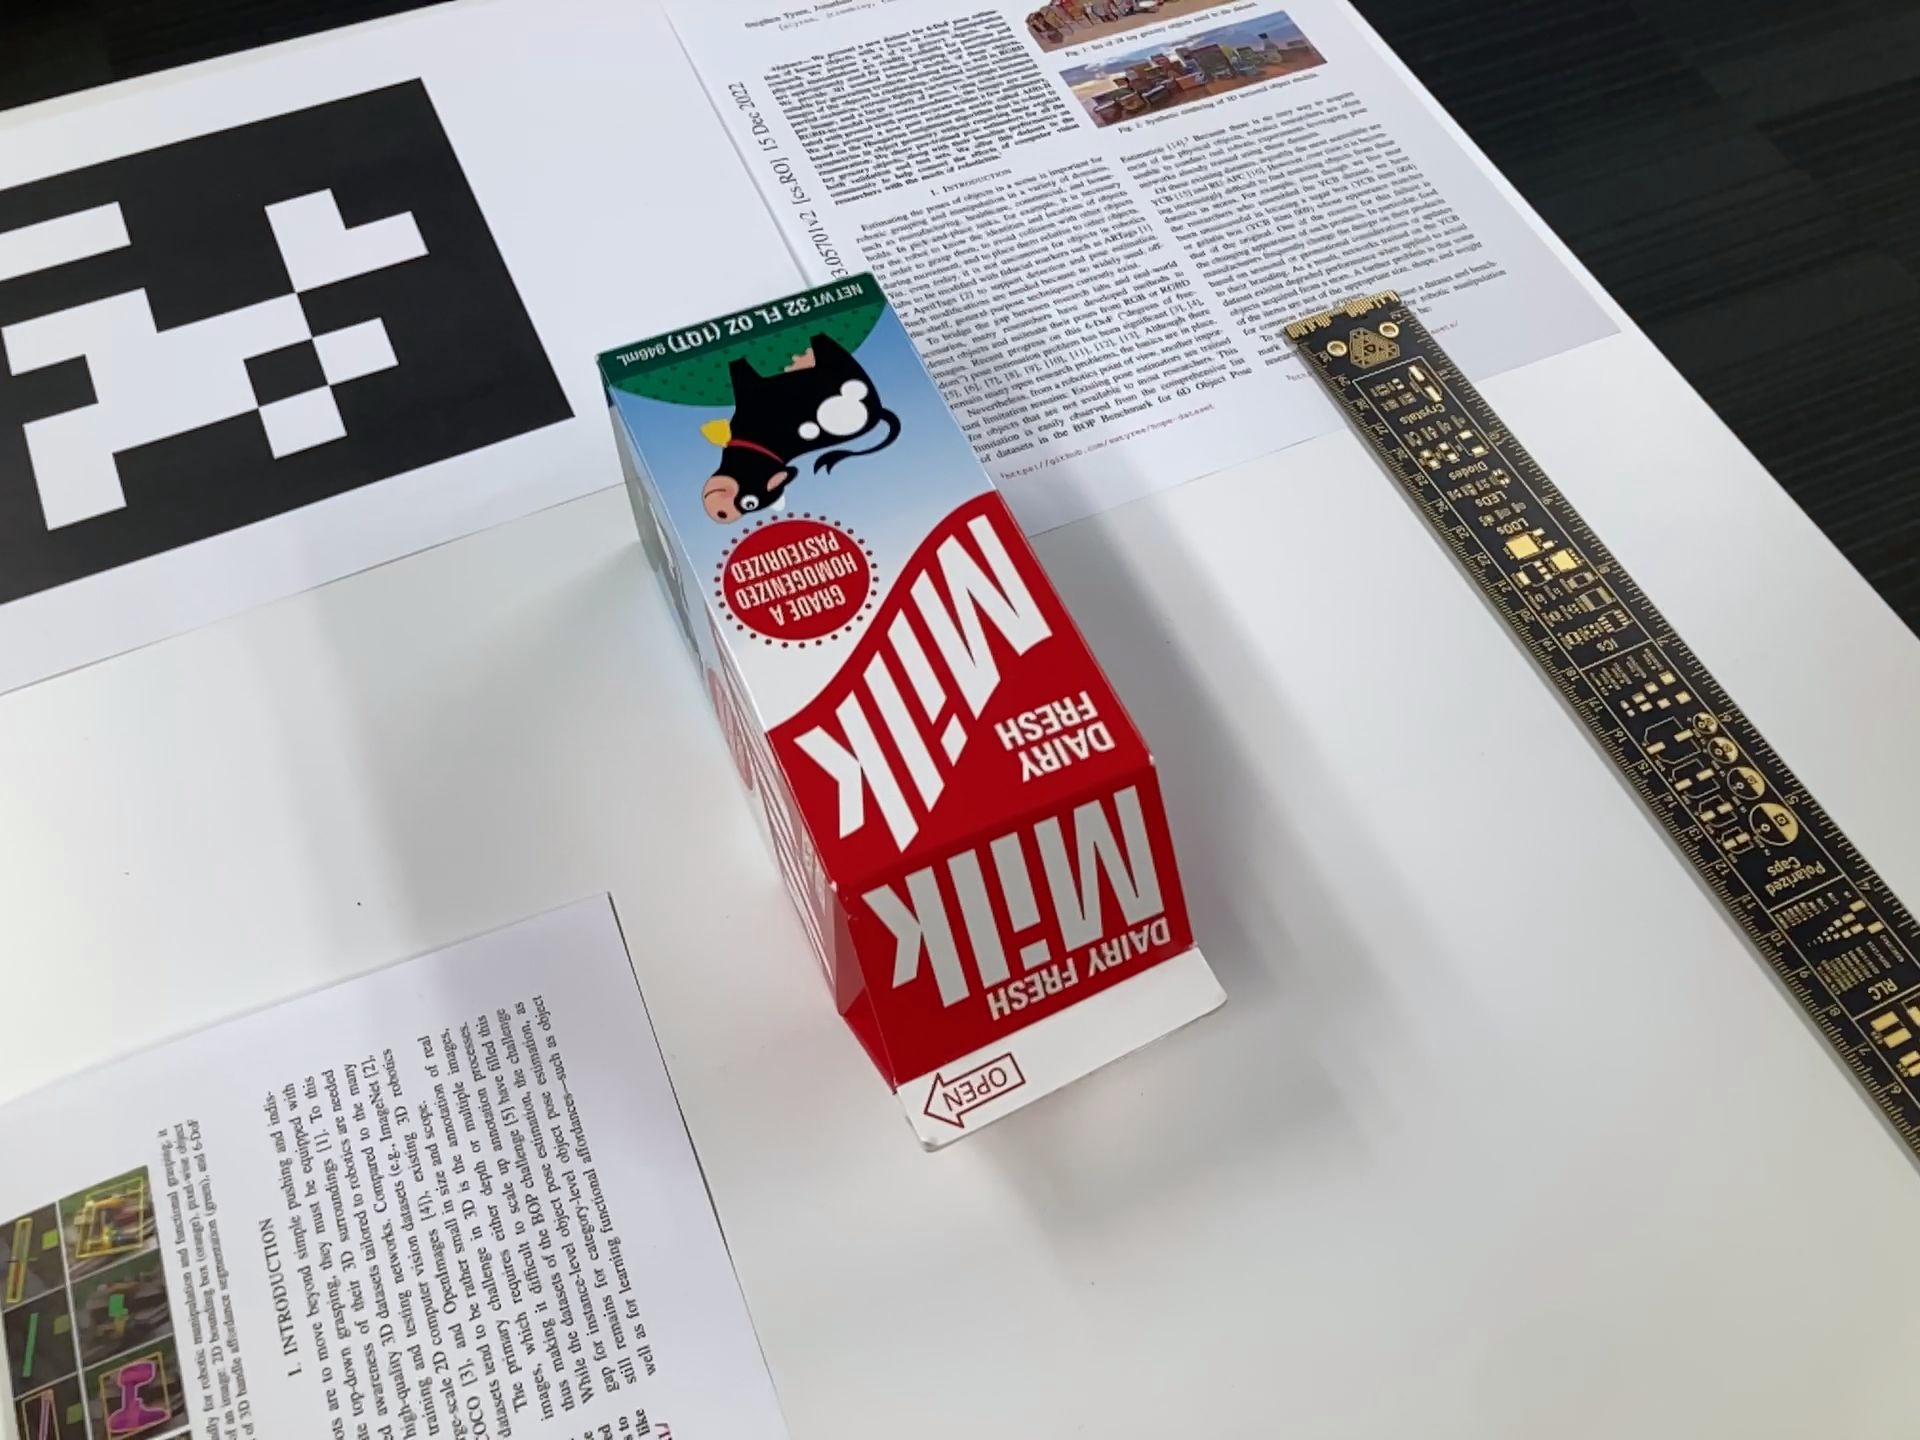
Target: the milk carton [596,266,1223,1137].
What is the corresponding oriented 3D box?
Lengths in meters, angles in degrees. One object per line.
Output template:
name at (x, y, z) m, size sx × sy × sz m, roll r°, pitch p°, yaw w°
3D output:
milk carton at (-0.016, -0.005, 0.360) m, size 0.072 × 0.073 × 0.190 m, roll -21°, pitch 63°, yaw -14°
